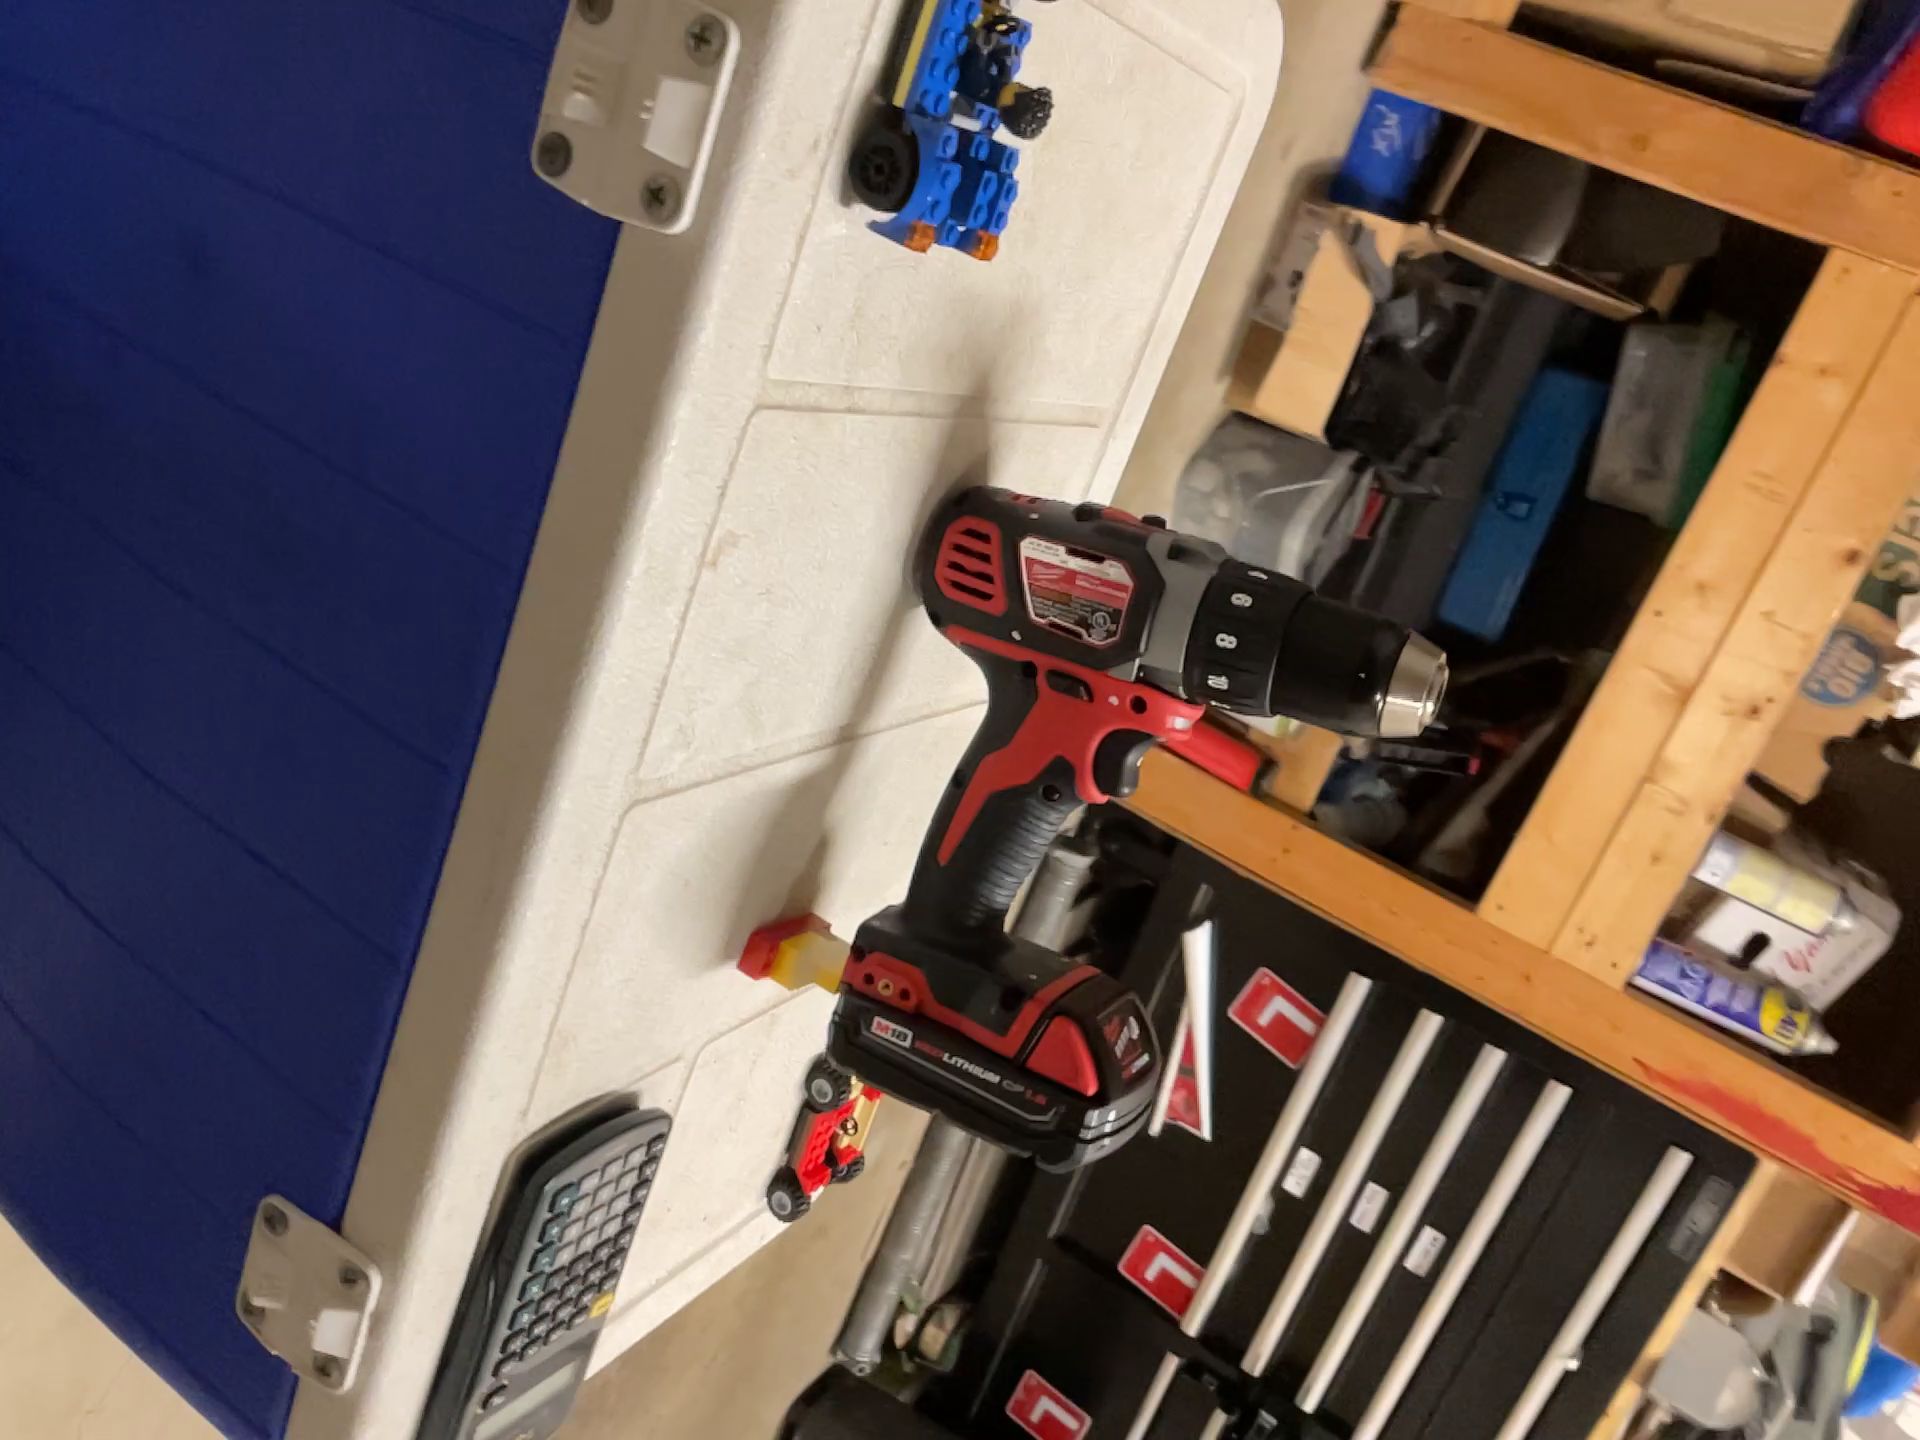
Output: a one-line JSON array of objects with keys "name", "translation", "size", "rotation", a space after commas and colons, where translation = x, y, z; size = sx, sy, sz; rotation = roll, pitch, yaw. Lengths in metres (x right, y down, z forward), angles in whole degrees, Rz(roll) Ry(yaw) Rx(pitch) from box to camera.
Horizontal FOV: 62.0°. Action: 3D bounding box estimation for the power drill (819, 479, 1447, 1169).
[{"name": "power drill", "translation": [0.055, 0.039, 0.575], "size": [0.080, 0.188, 0.226], "rotation": [-7, 114, -66]}]
